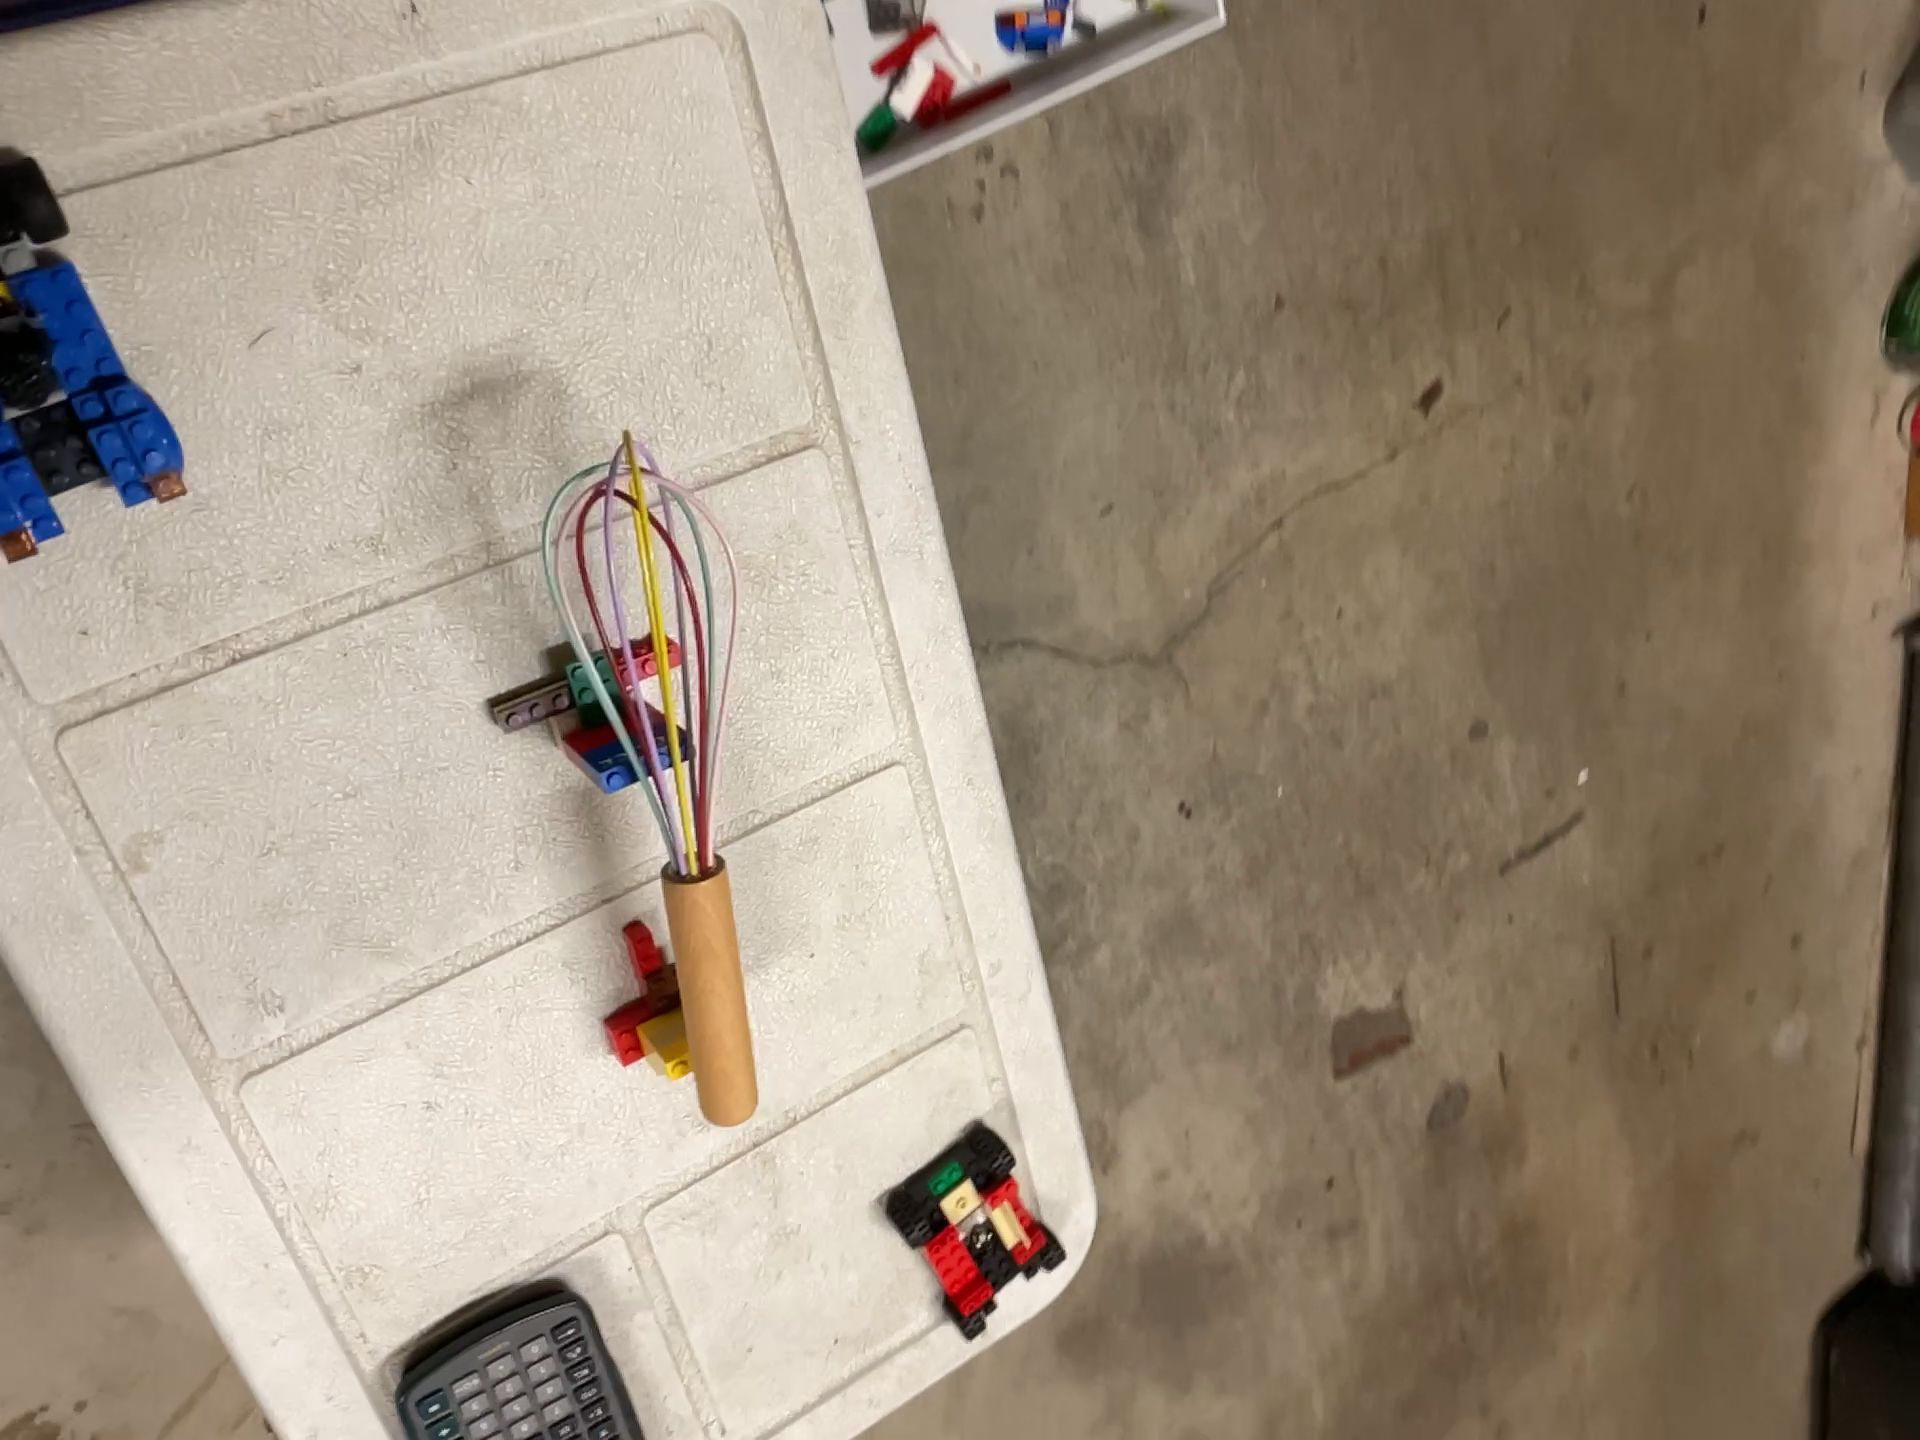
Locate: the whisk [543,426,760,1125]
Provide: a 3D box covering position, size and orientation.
[{"bbox_3d":[-0.088,0.029,0.501,0.051,0.047,0.245,-26,123,-38],"label":"whisk"}]
